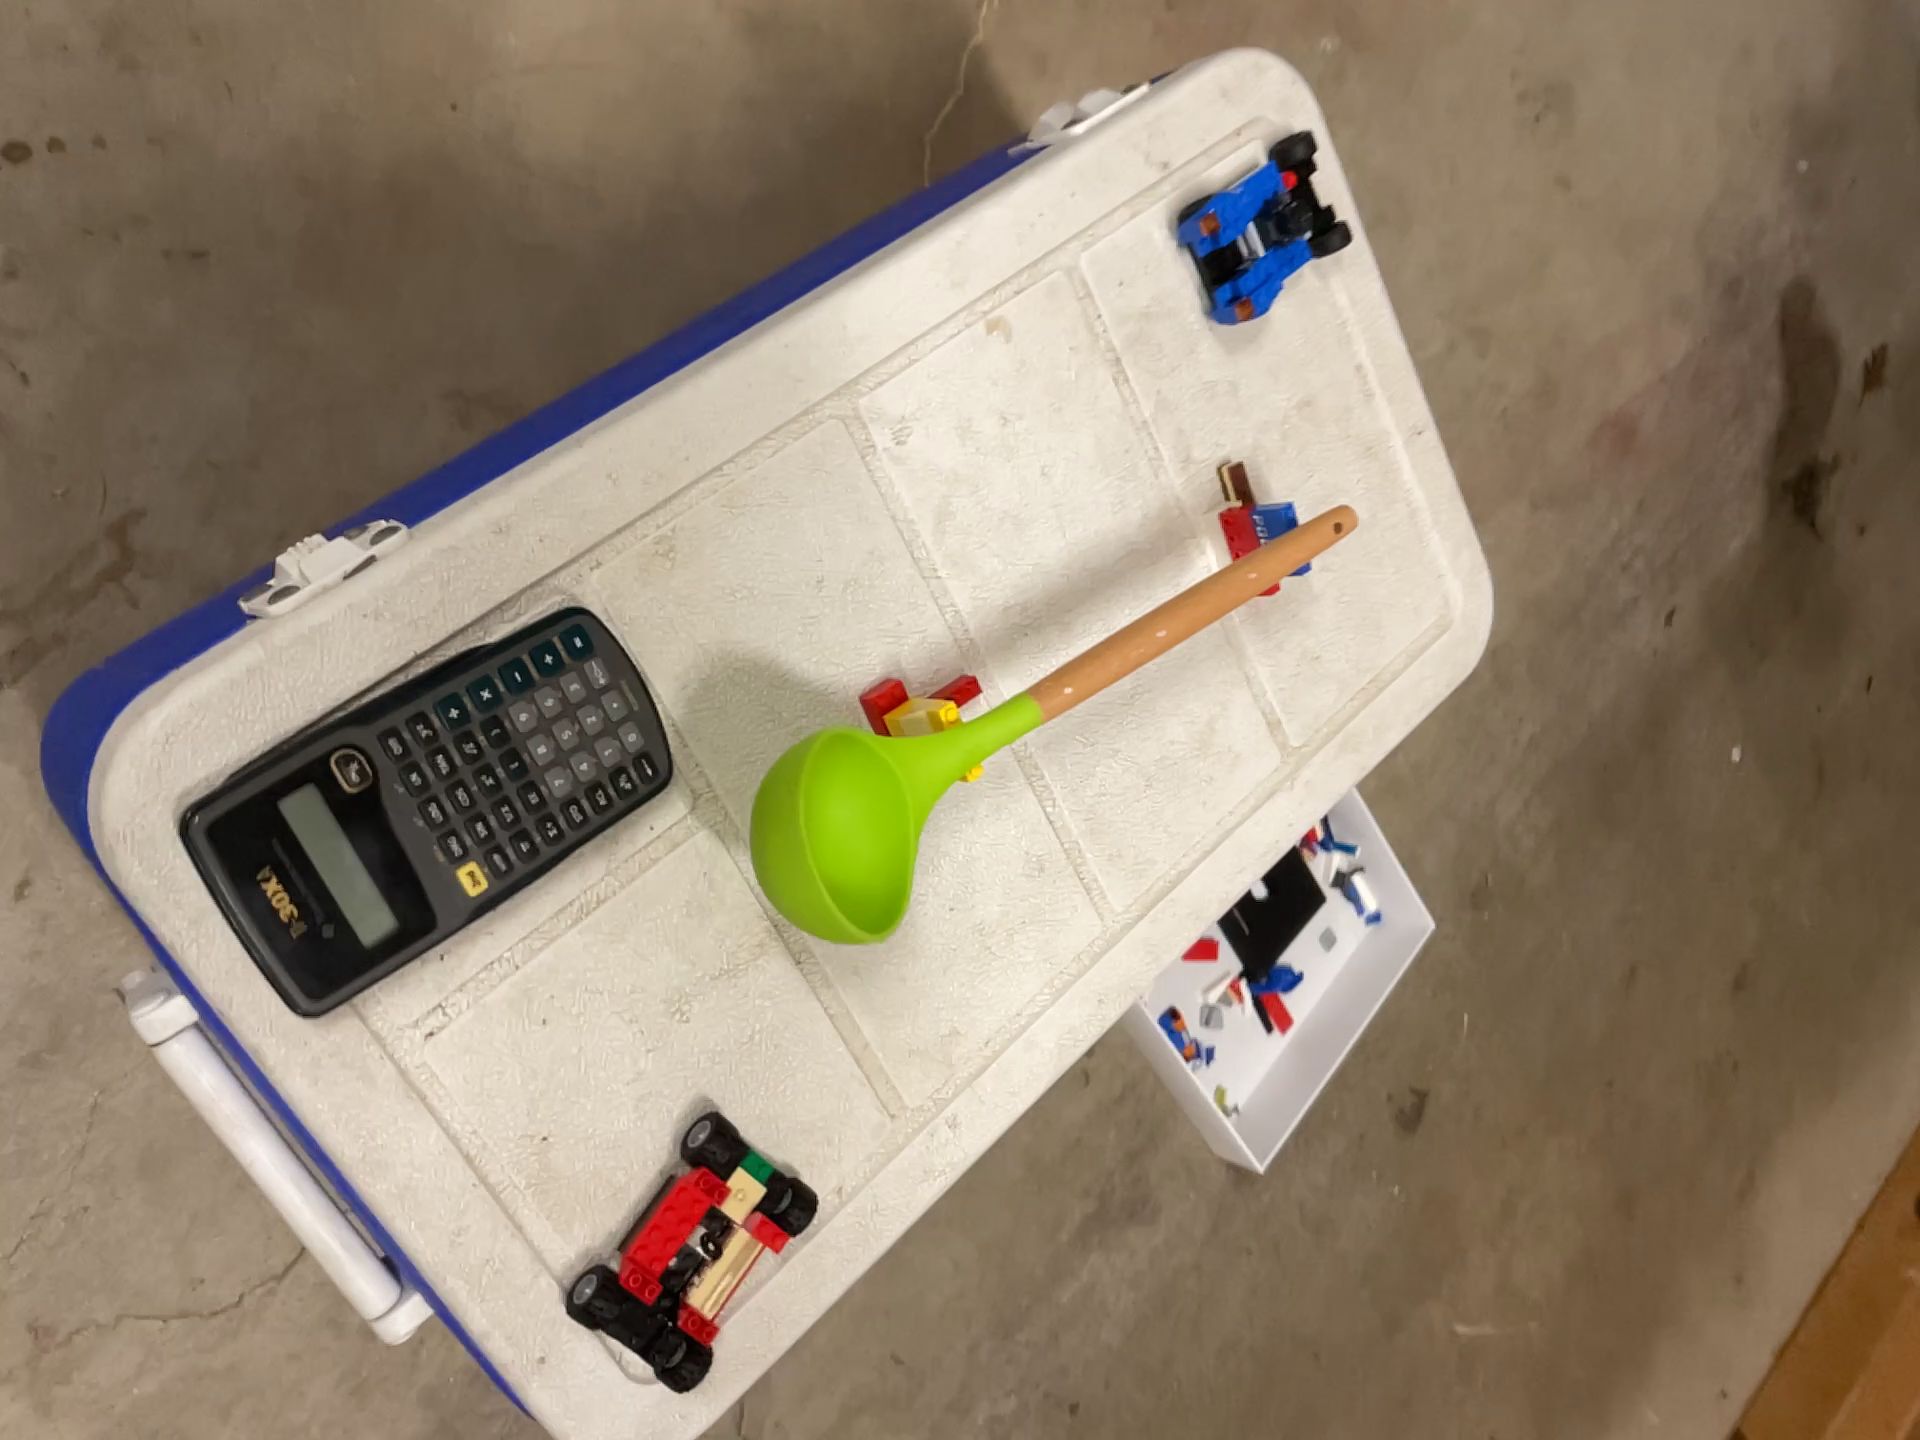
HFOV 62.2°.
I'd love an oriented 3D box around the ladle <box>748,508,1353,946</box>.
[{"bbox_3d":[0.053,-0.015,0.620,0.320,0.062,0.078,-31,109,-27],"label":"ladle"}]
